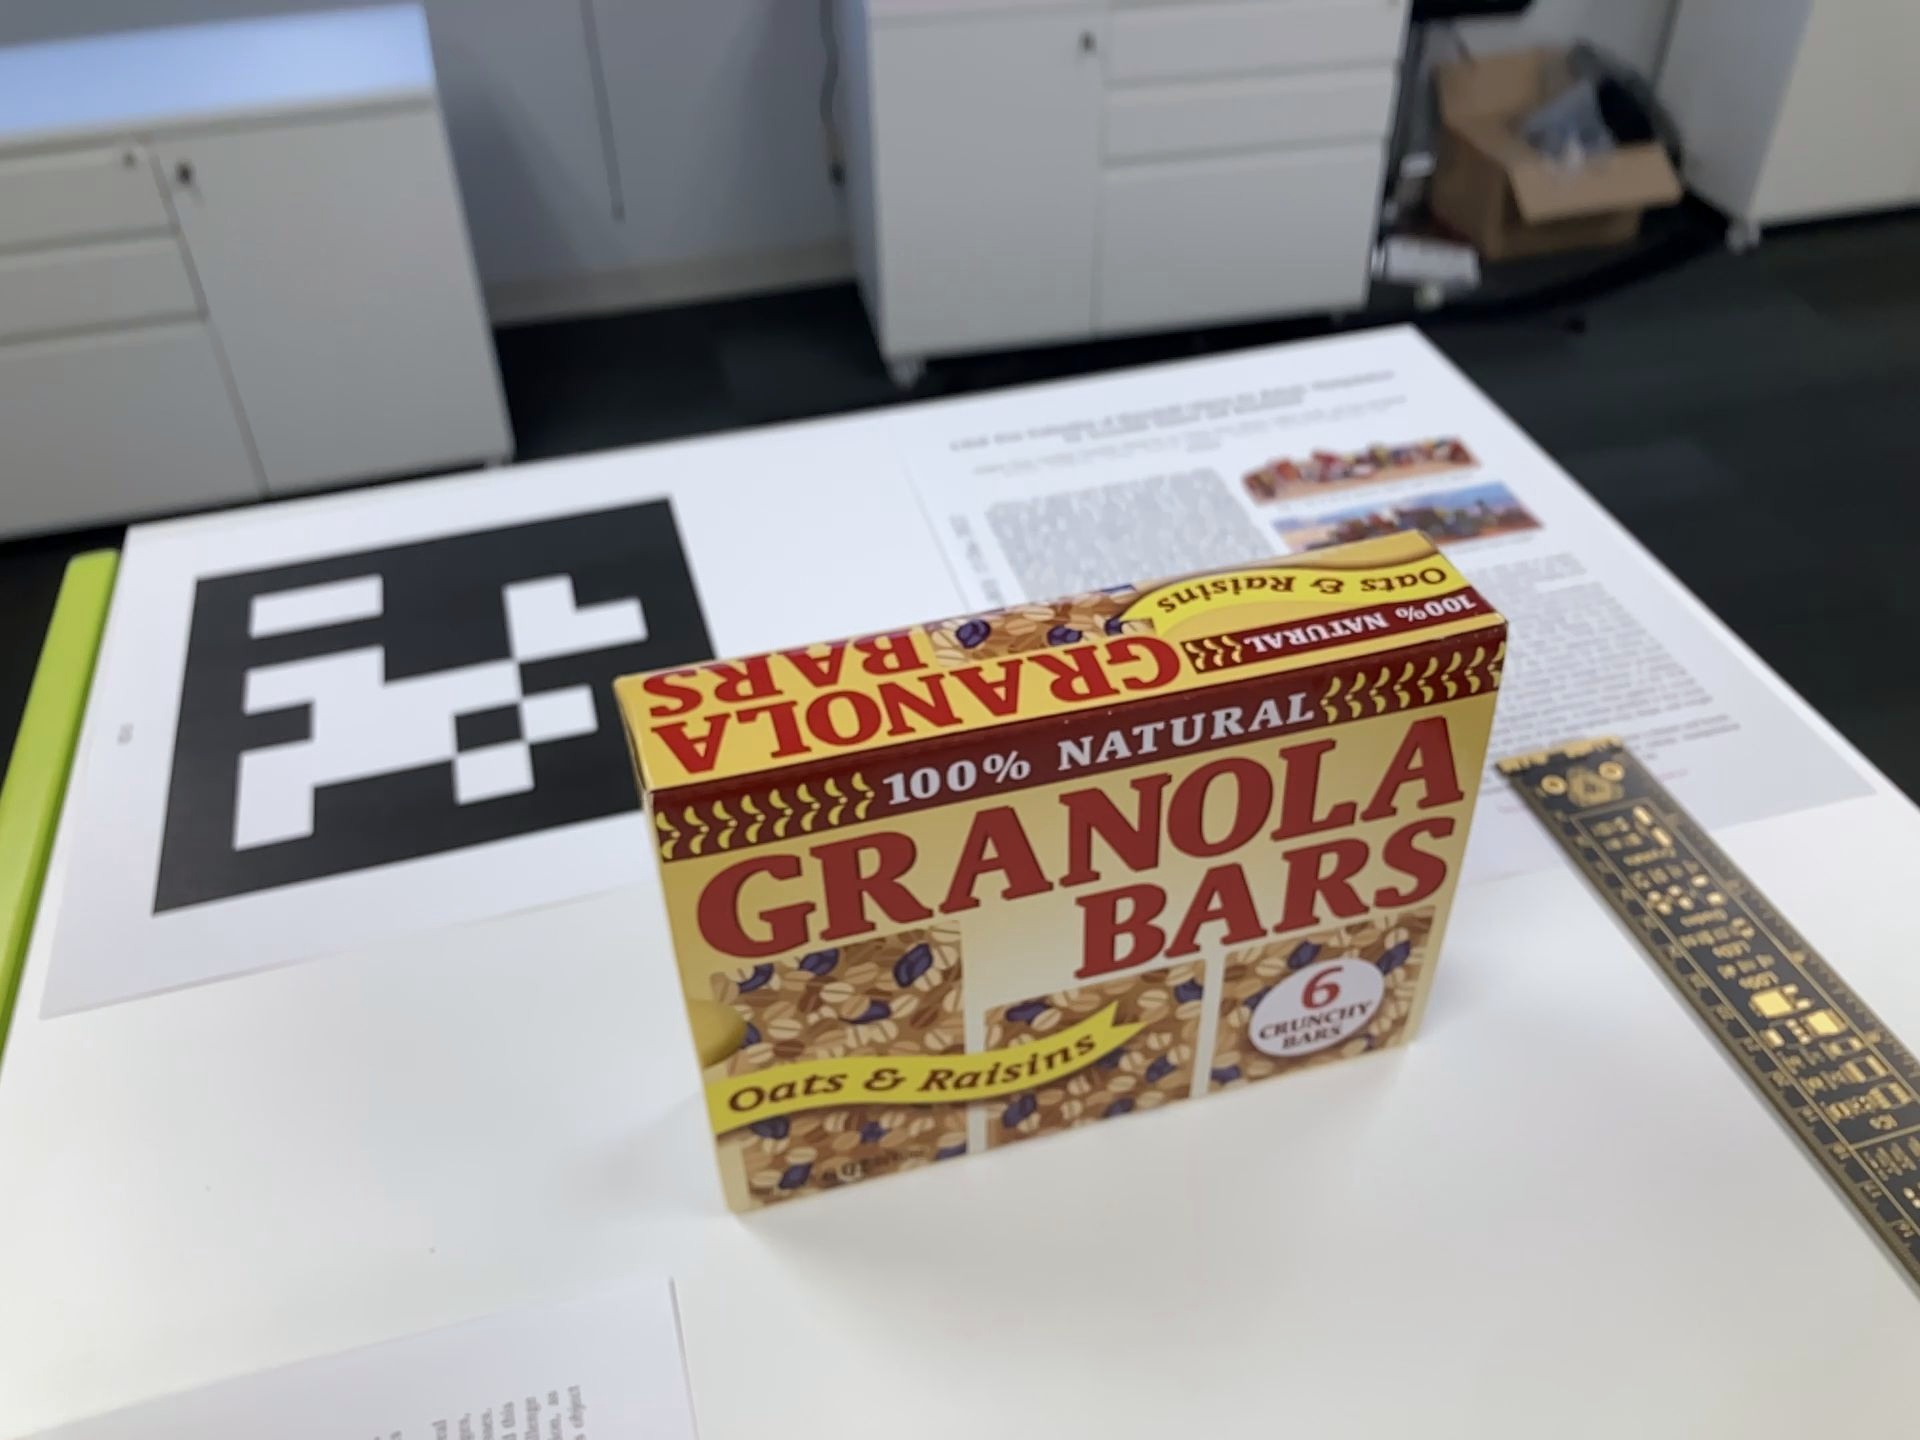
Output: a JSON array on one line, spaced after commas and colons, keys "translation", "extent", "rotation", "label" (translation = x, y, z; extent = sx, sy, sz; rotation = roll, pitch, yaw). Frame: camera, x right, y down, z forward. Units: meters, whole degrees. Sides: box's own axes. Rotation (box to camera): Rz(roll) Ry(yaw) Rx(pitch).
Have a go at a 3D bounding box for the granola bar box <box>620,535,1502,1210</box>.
[{"translation": [0.022, 0.034, 0.340], "extent": [0.165, 0.124, 0.039], "rotation": [-11, 39, -11], "label": "granola bar box"}]
